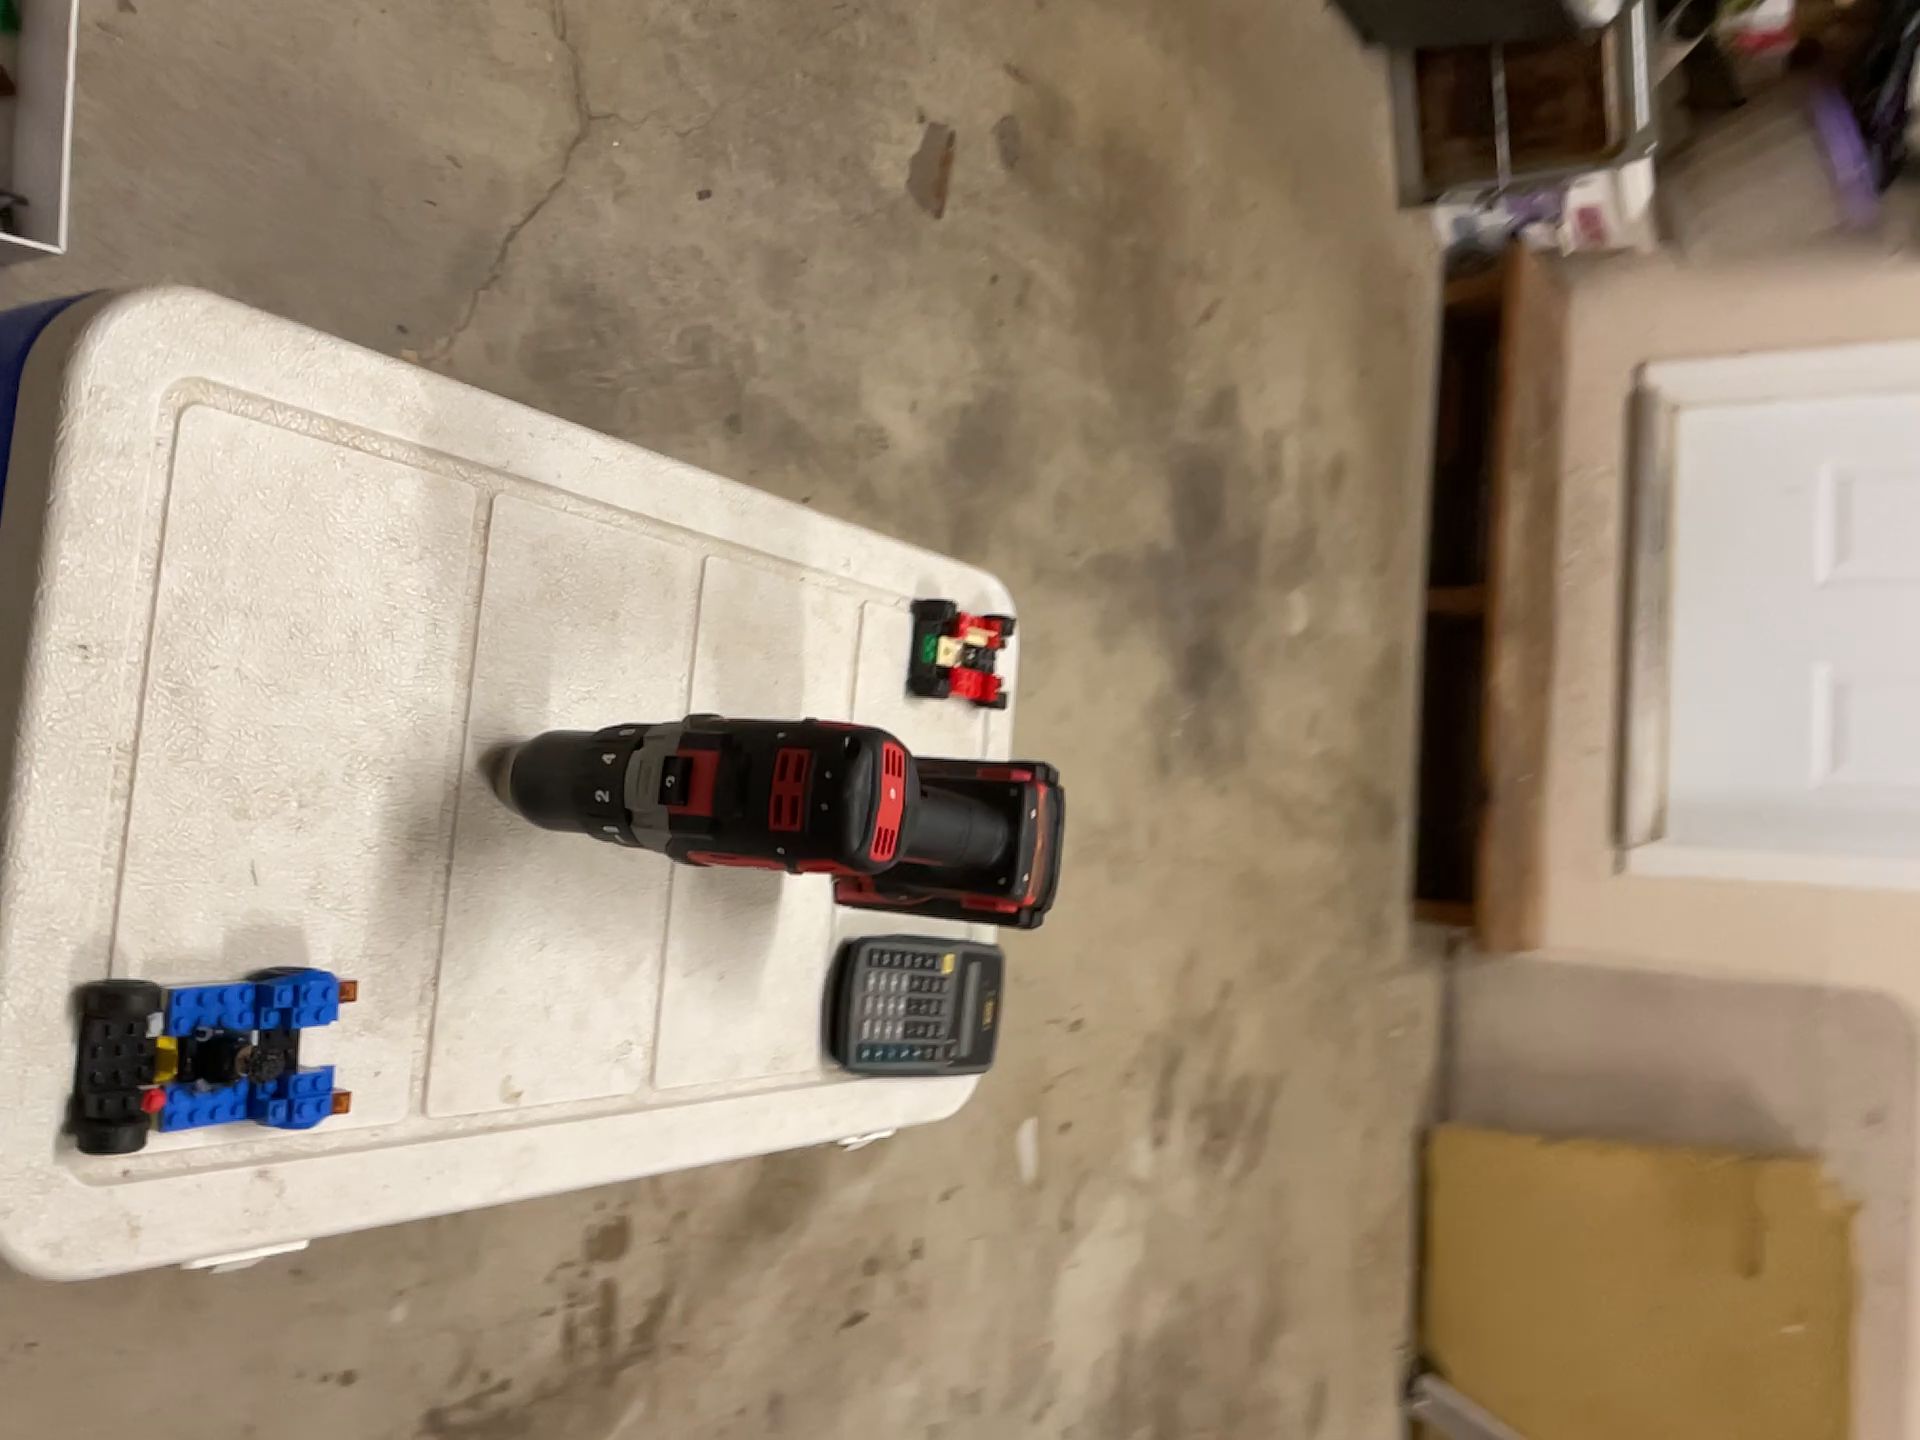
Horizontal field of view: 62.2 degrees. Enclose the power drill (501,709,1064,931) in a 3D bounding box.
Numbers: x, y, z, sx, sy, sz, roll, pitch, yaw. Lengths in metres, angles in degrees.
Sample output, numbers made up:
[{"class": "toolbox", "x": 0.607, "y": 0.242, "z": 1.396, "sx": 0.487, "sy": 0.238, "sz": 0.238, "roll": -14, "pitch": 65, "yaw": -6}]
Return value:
[{"class": "power drill", "x": -0.071, "y": 0.040, "z": 0.712, "sx": 0.226, "sy": 0.188, "sz": 0.080, "roll": 21, "pitch": 75, "yaw": -61}]
